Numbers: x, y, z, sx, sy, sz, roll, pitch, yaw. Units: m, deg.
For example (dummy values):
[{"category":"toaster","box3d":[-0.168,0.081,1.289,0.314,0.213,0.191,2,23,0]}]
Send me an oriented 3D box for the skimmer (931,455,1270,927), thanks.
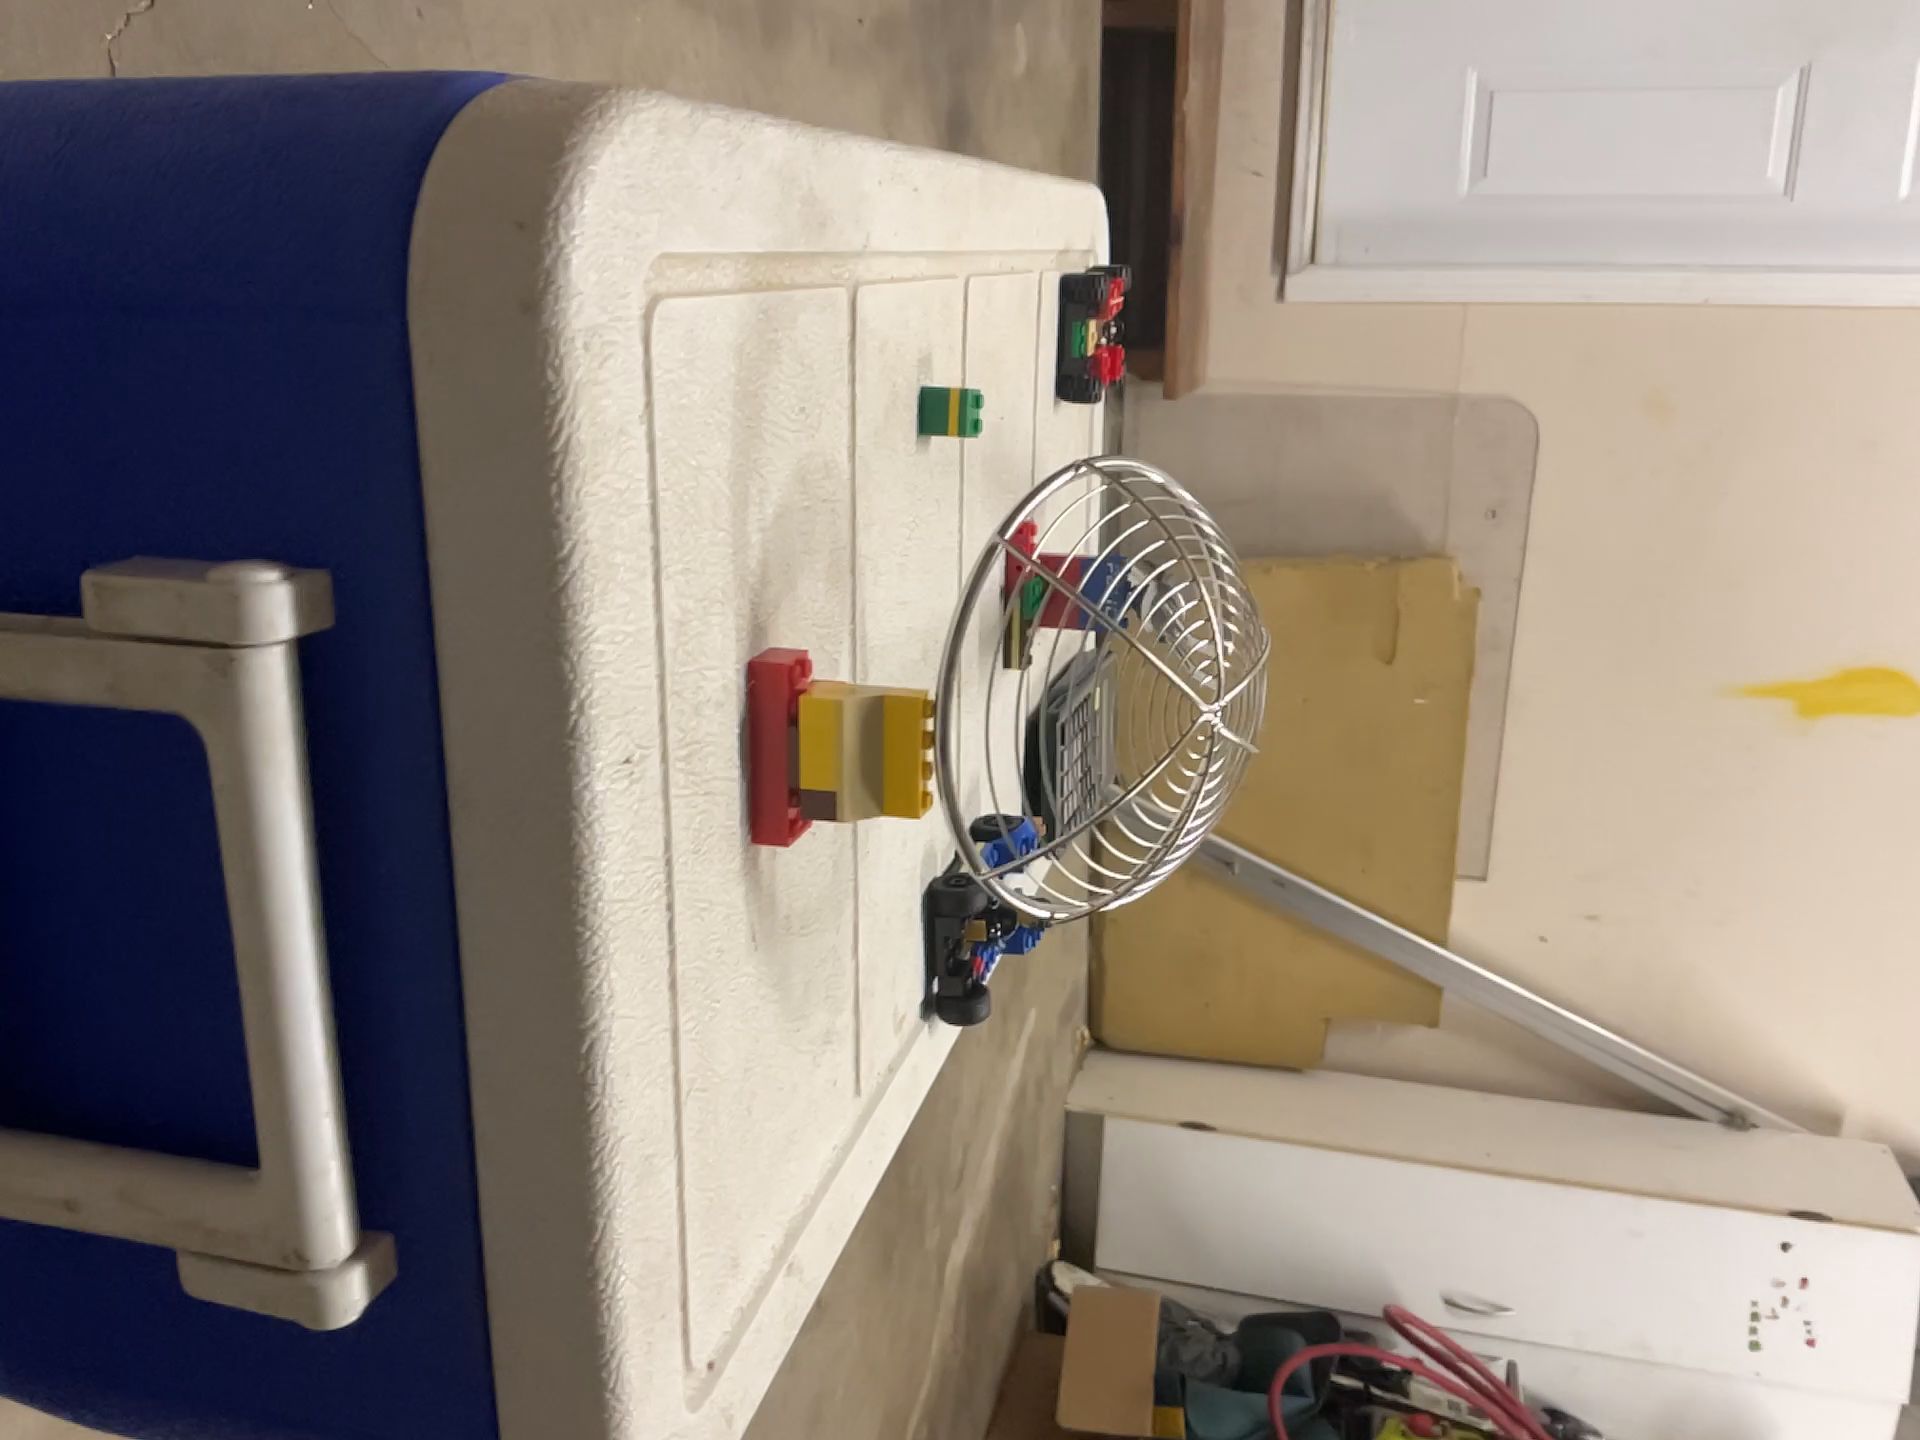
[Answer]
[{"category":"skimmer","box3d":[0.045,-0.032,0.561,0.363,0.090,0.127,-77,169,-79]}]
